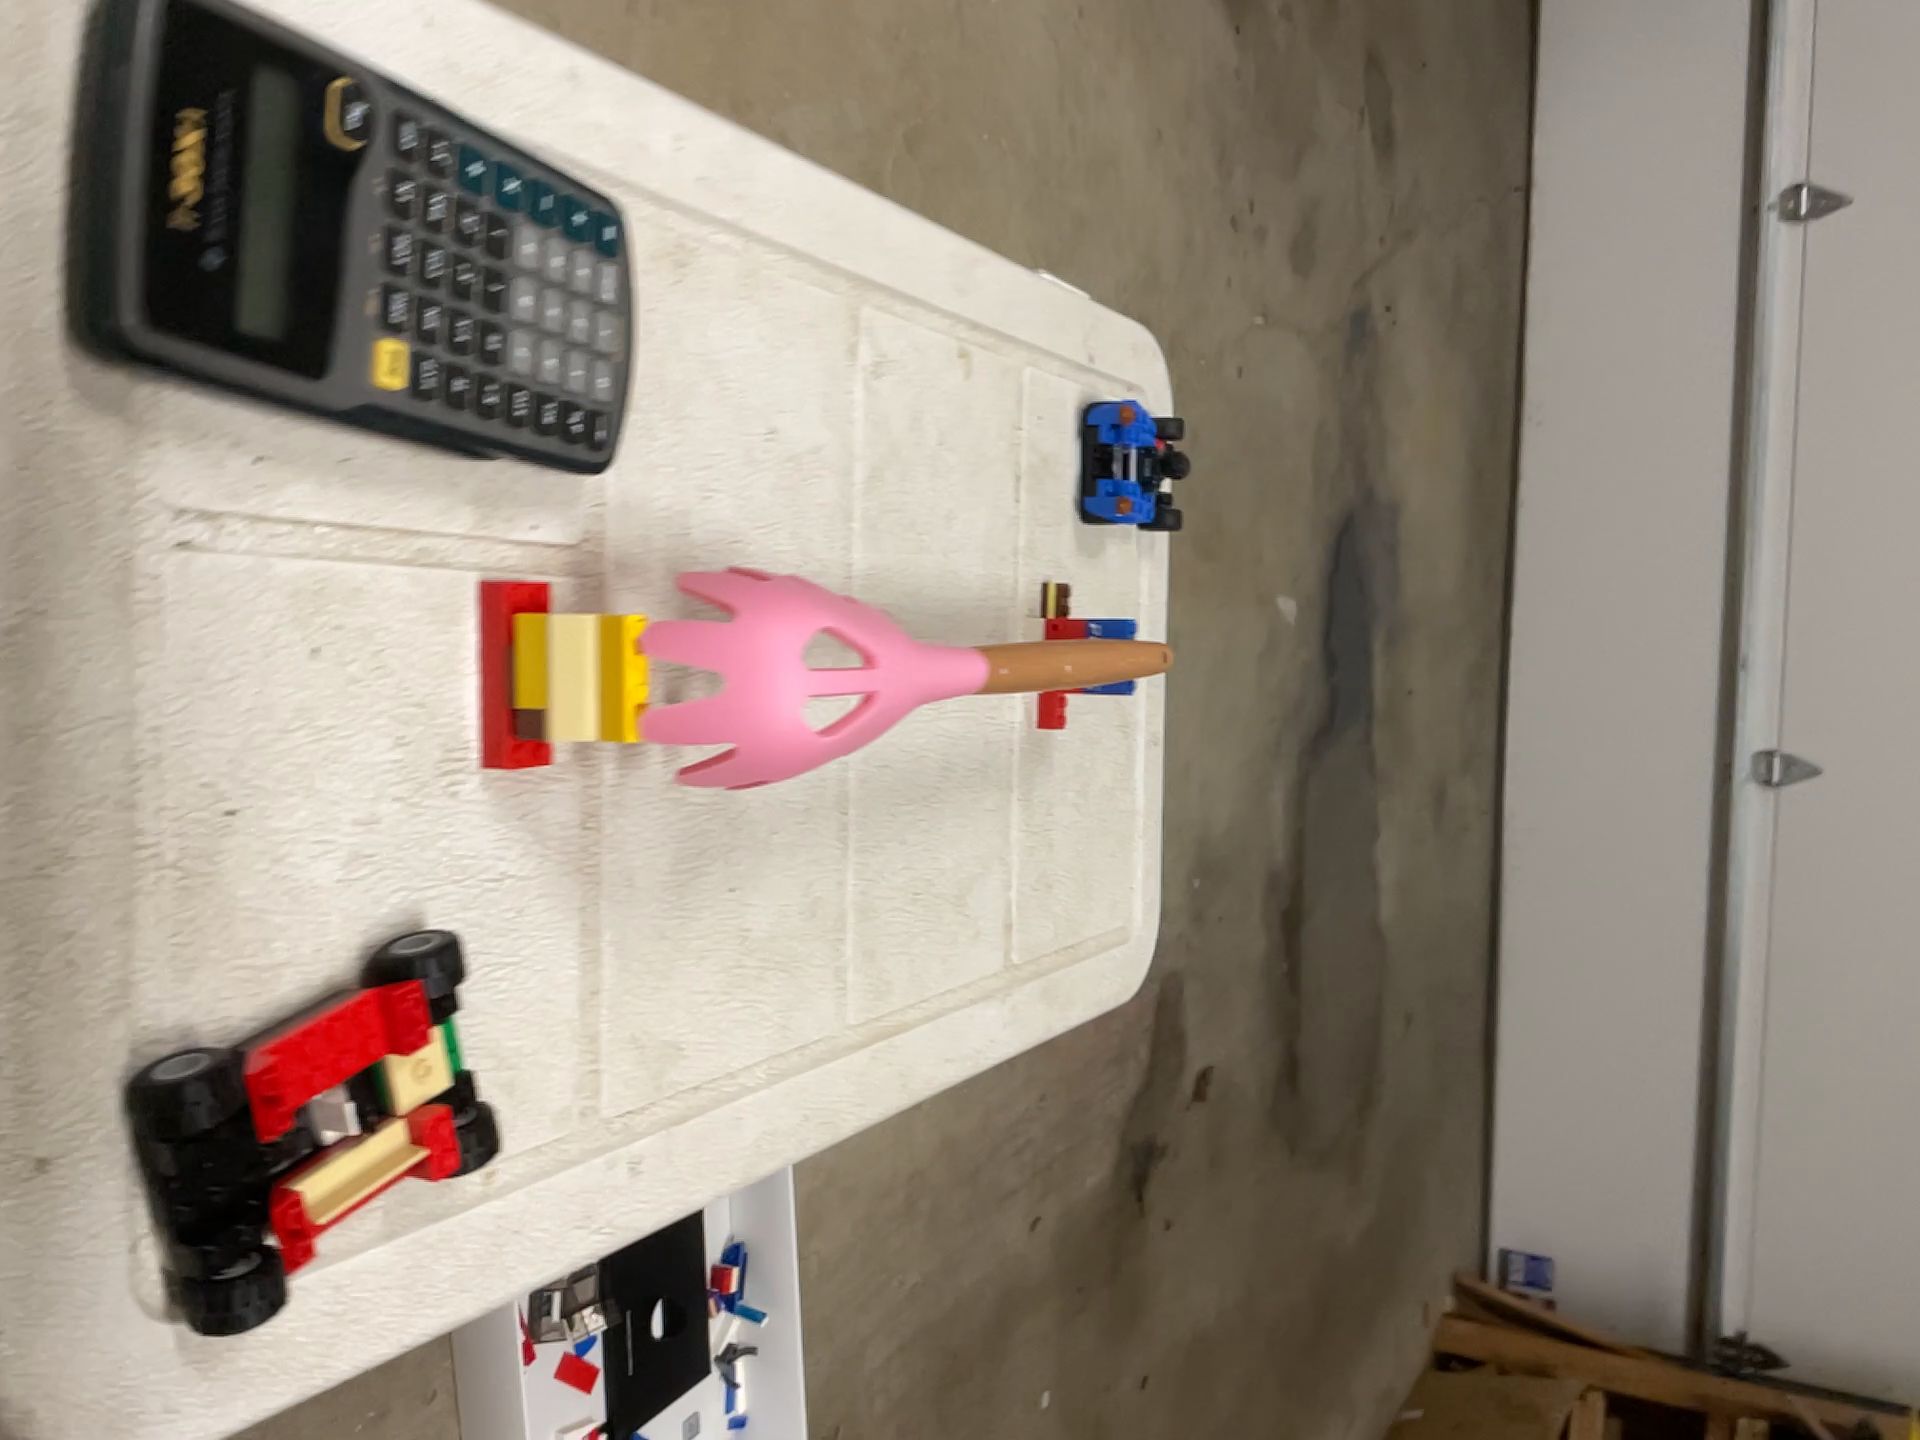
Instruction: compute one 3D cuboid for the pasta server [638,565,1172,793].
[{"bbox_3d":[0.007,-0.017,0.527,0.316,0.040,0.060,-7,97,-64],"label":"pasta server"}]
